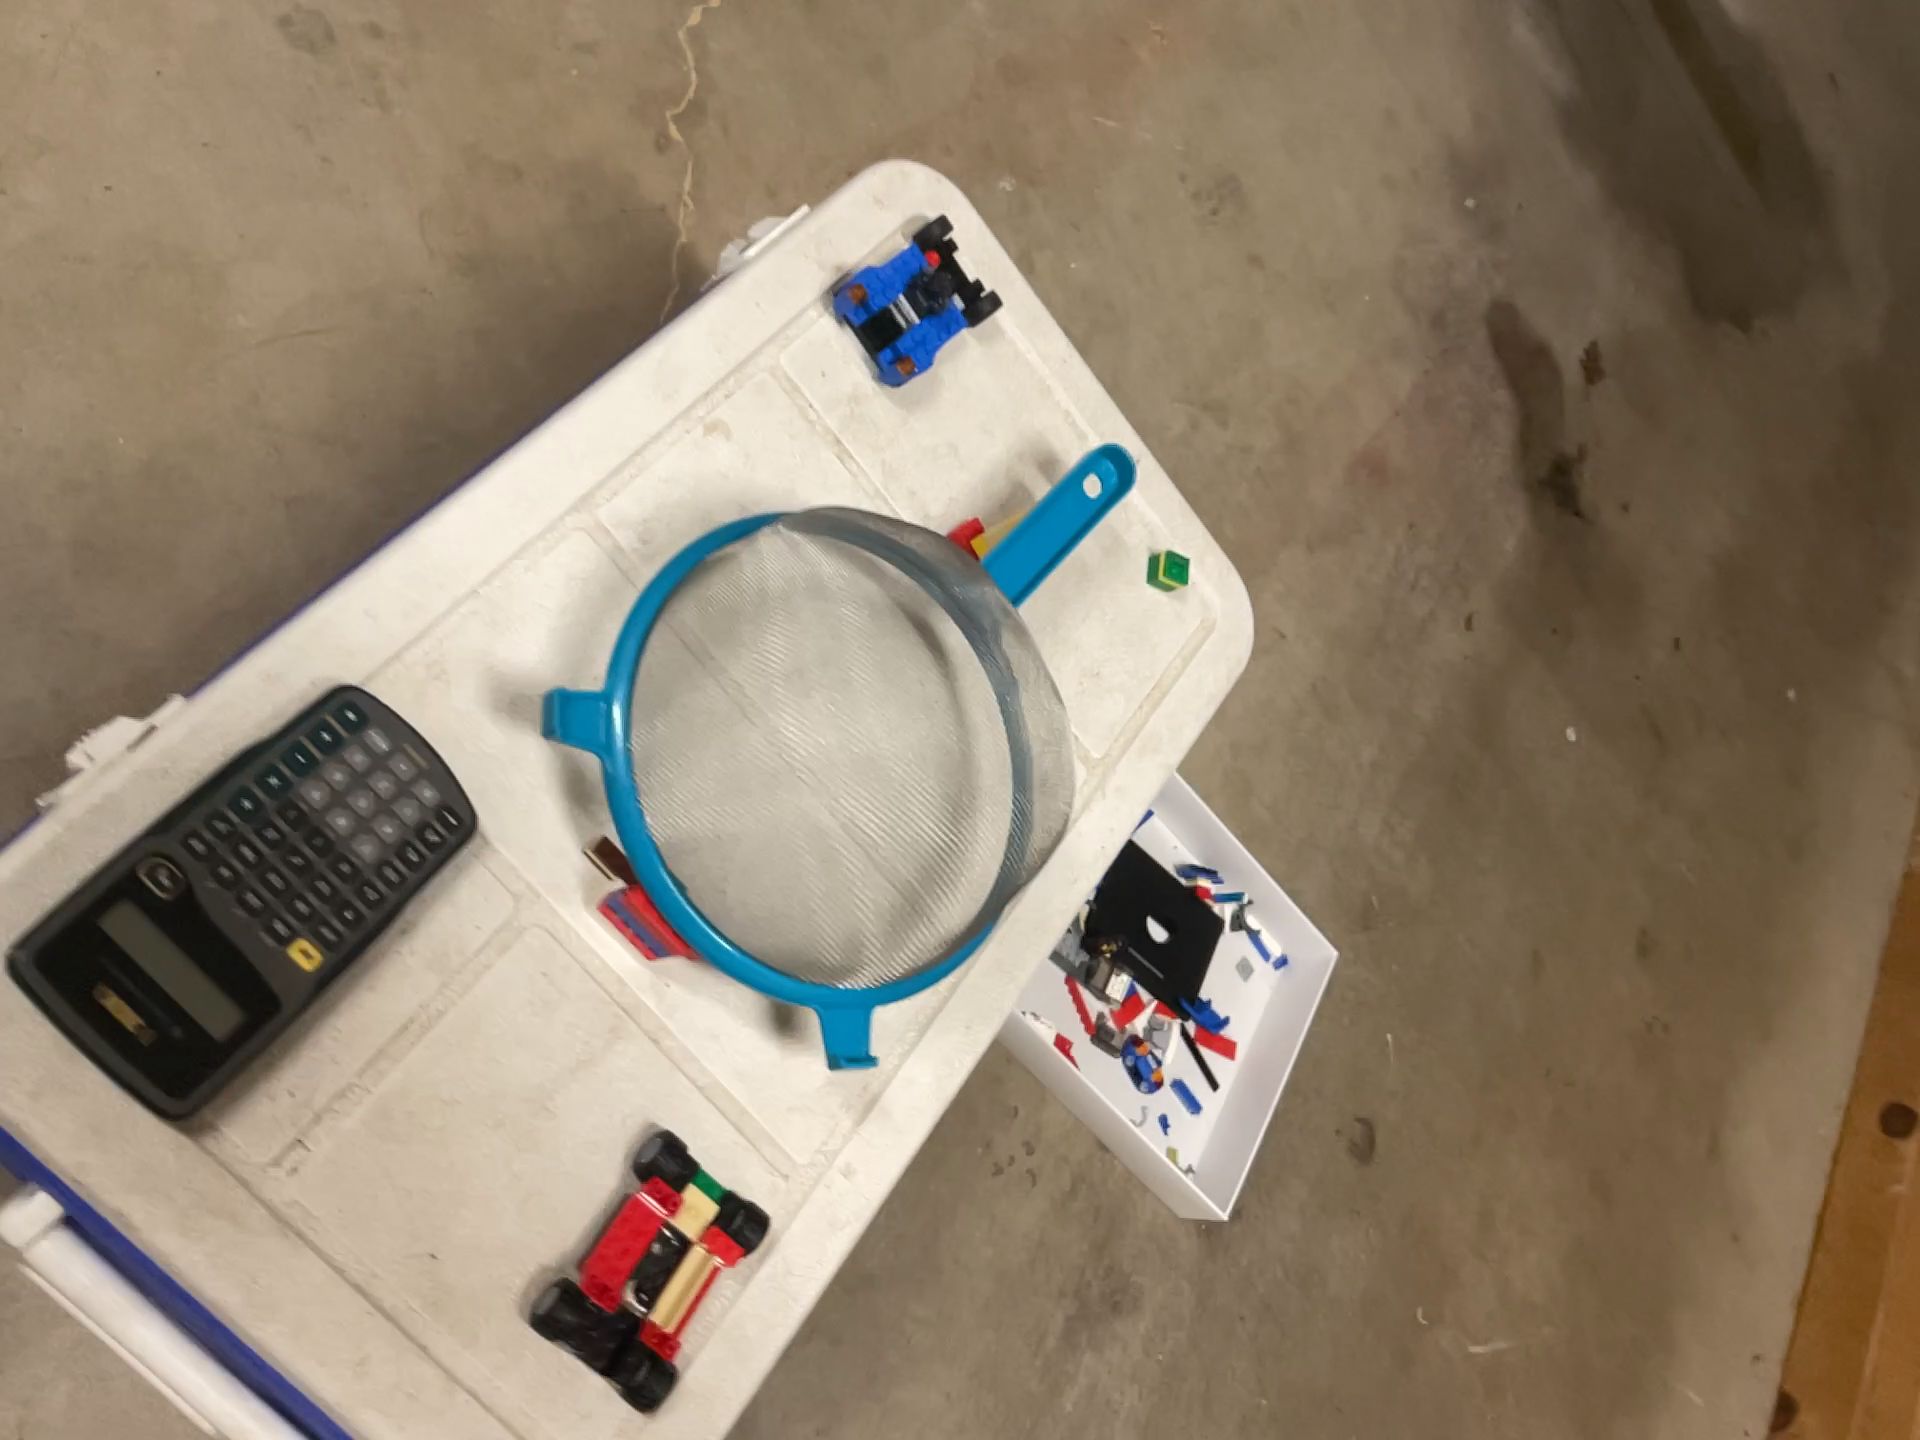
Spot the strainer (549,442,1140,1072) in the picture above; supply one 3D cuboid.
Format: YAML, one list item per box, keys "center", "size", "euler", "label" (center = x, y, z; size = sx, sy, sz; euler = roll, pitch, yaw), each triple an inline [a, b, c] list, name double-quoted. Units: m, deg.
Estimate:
- center: [0.009, -0.033, 0.671]
  size: [0.211, 0.095, 0.341]
  euler: [52, 54, -15]
  label: "strainer"
